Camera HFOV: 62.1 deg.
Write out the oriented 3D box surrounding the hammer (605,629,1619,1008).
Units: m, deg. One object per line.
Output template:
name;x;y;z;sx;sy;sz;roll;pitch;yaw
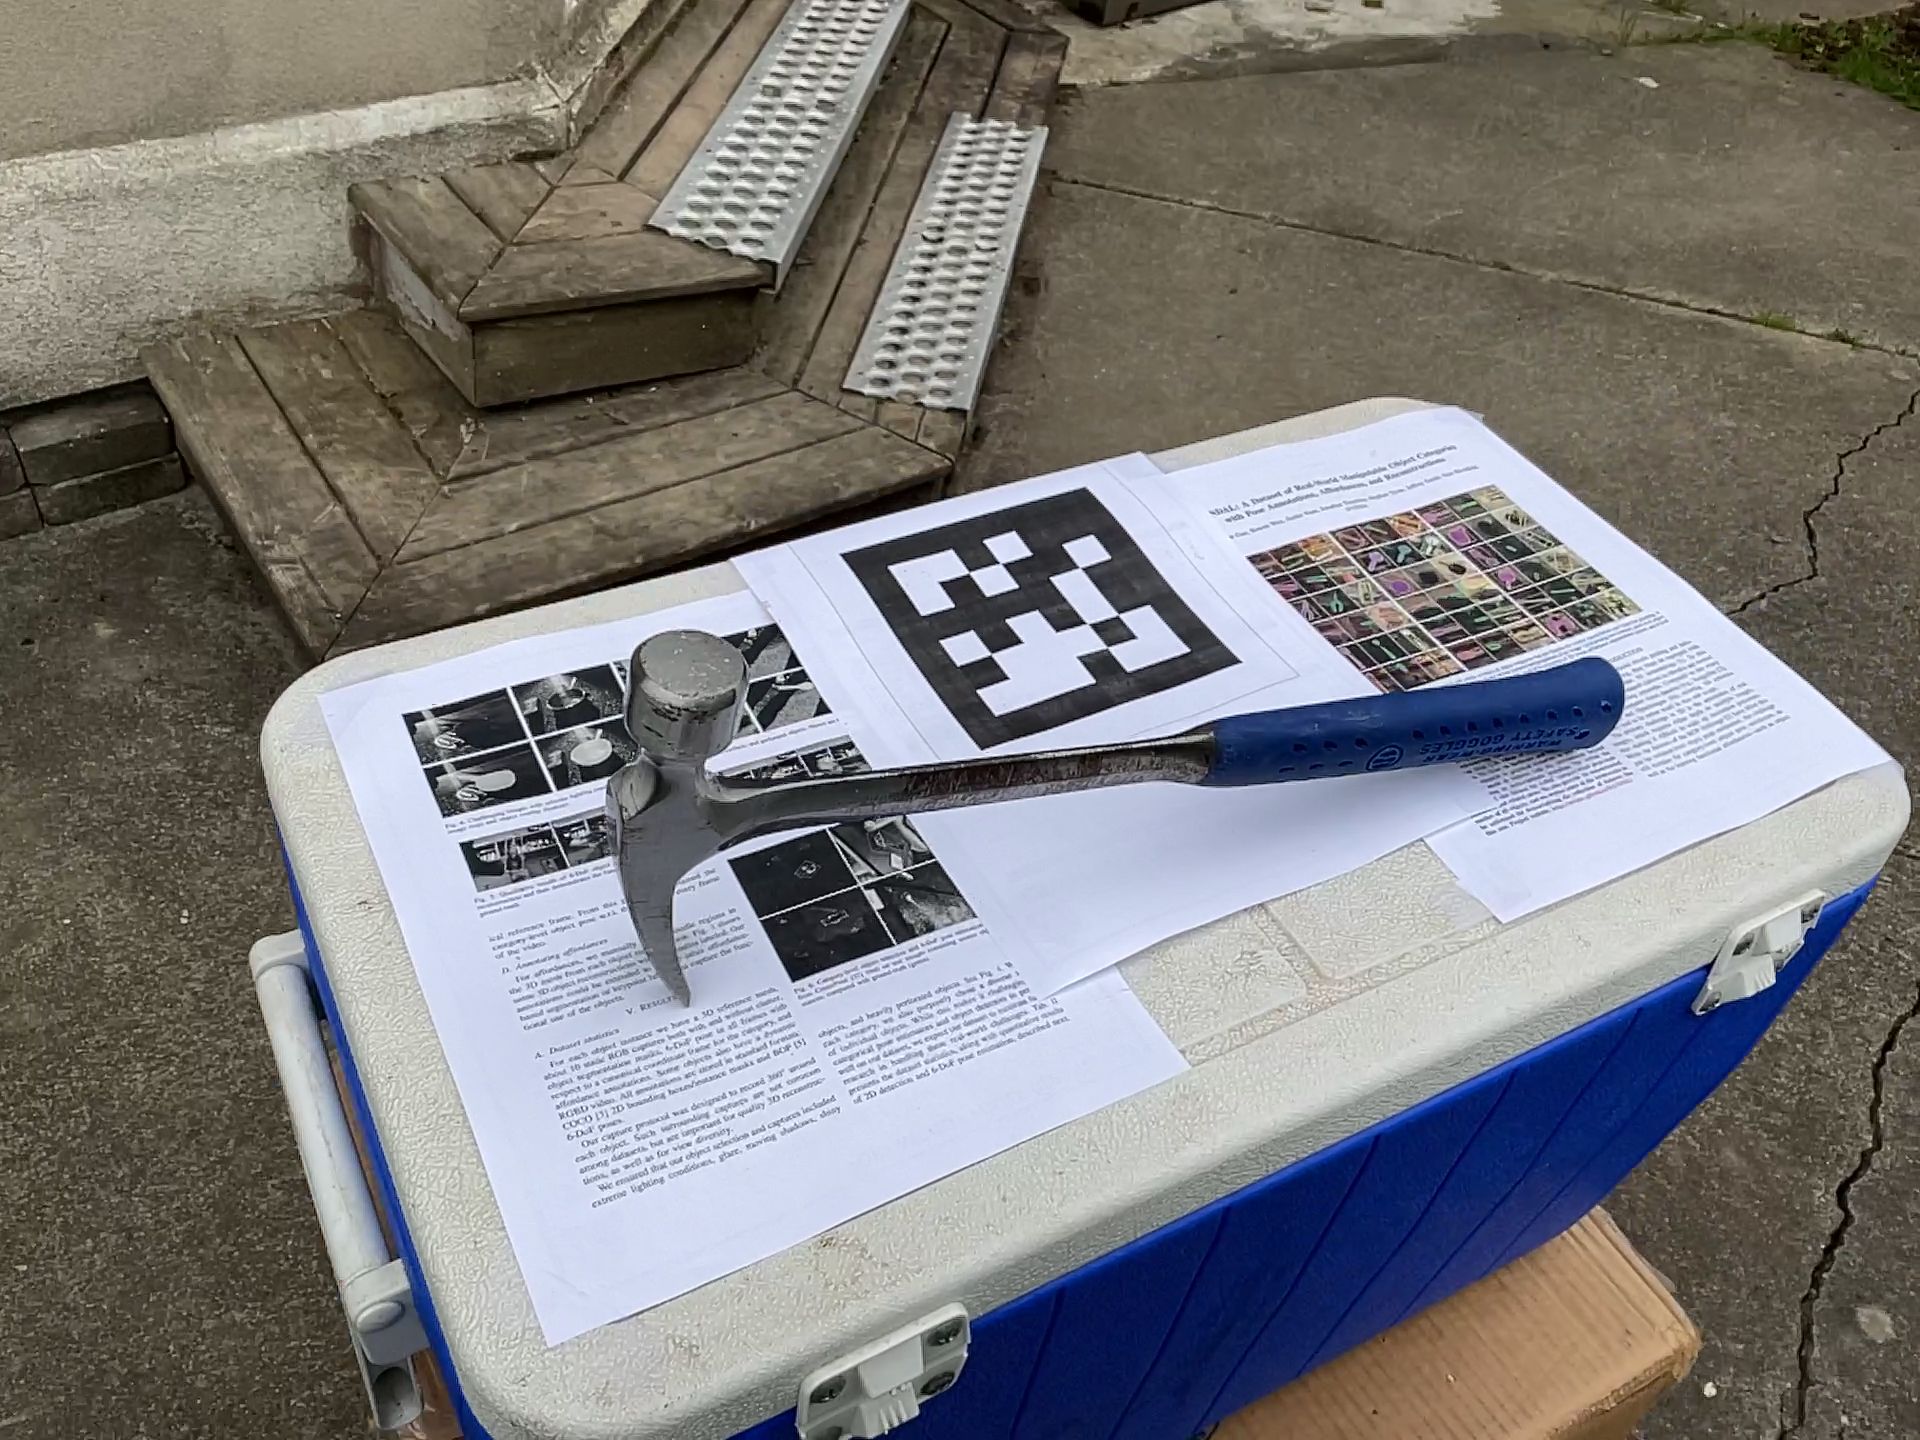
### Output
hammer;0.073;0.017;0.573;0.405;0.144;0.035;-6;46;-26
